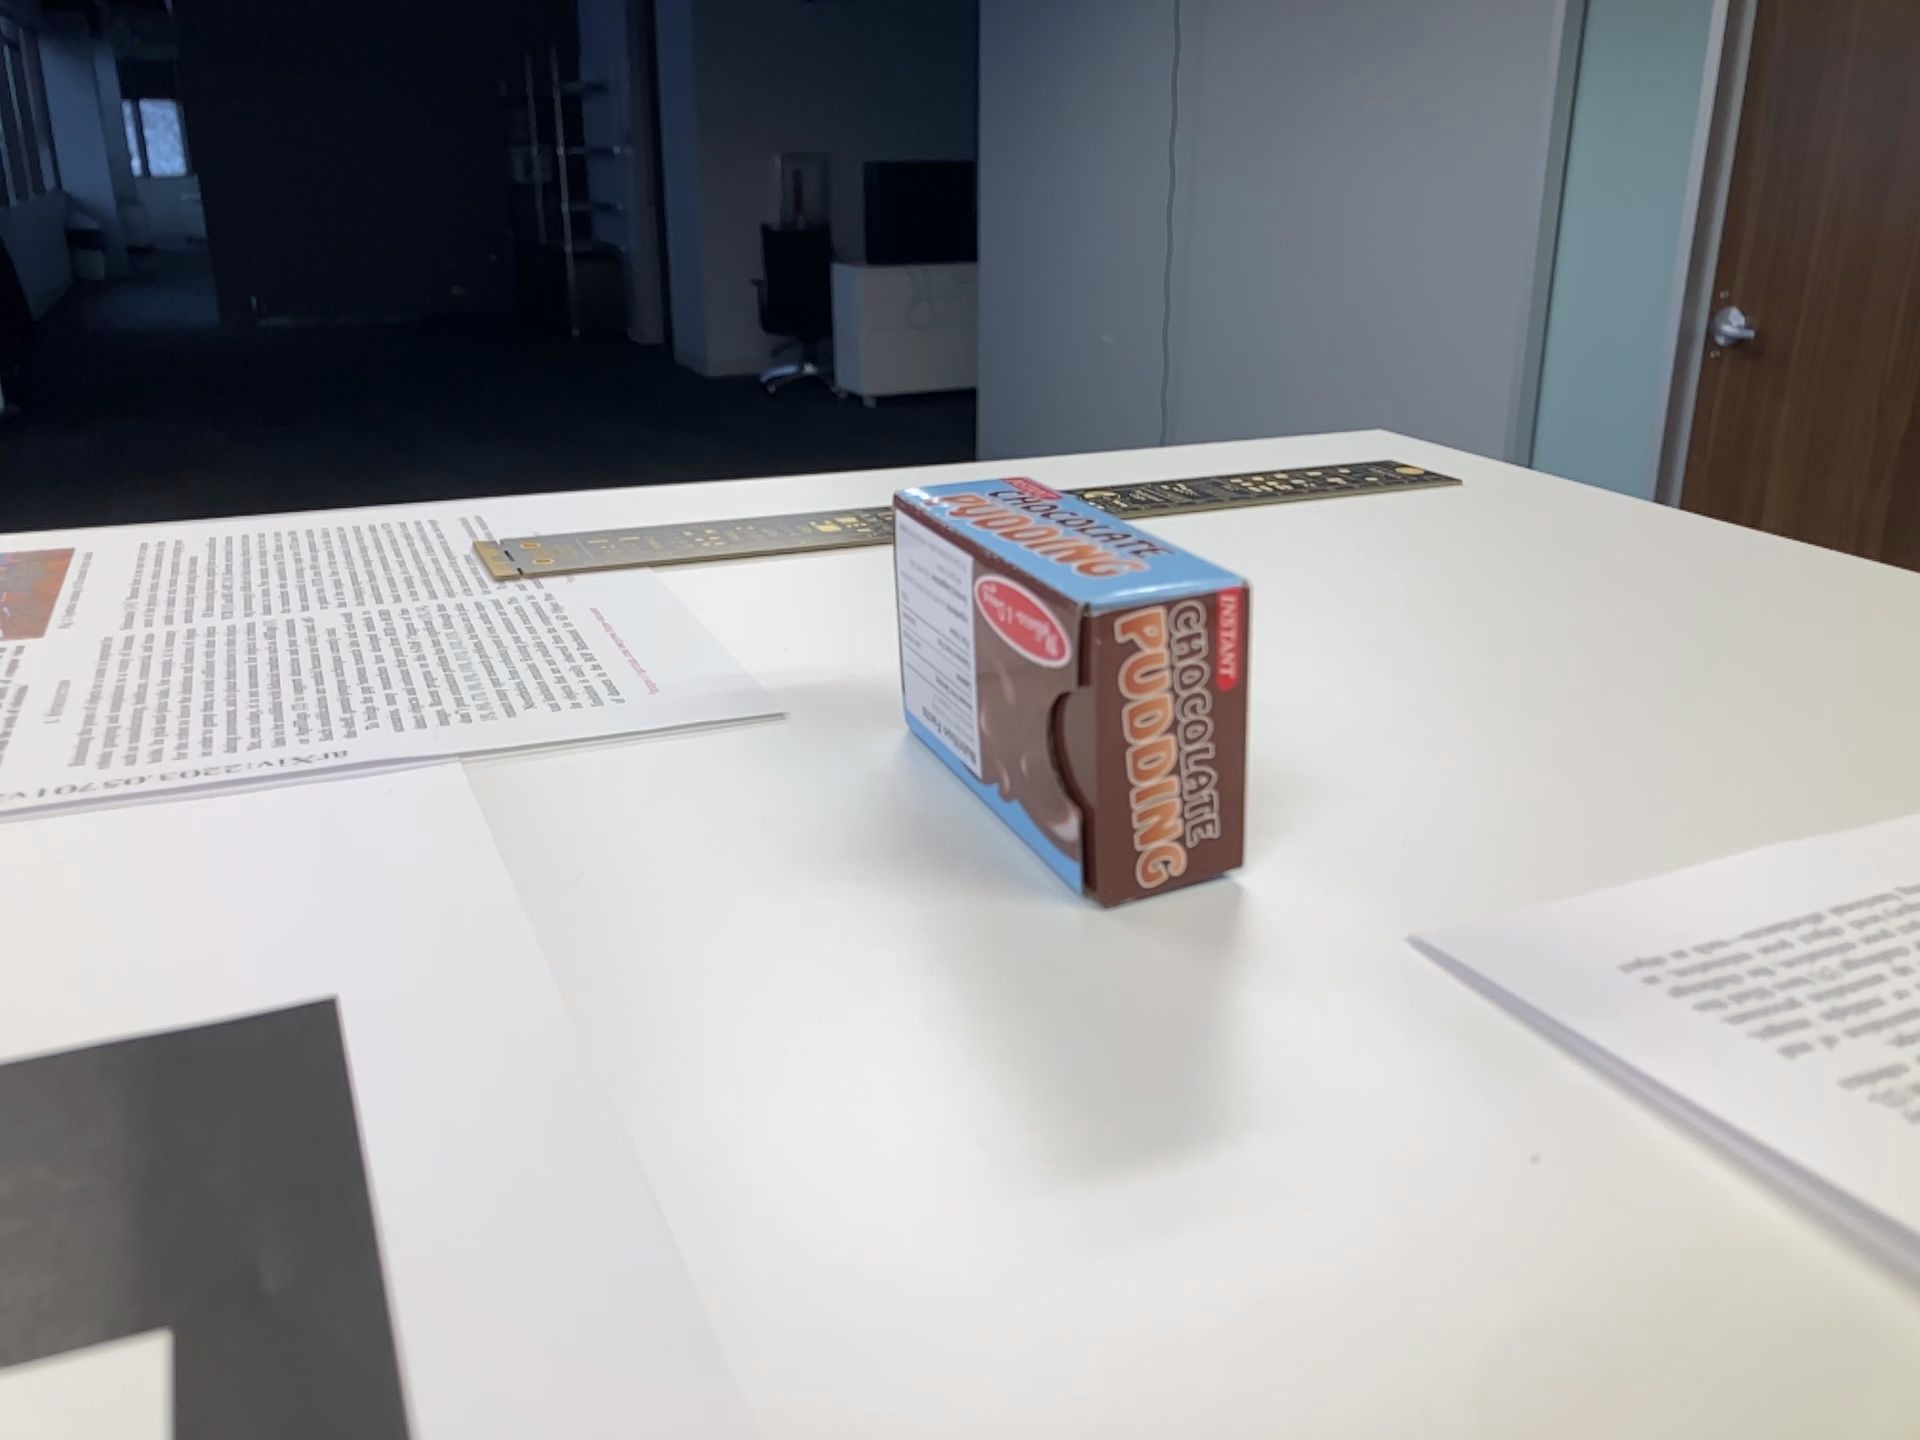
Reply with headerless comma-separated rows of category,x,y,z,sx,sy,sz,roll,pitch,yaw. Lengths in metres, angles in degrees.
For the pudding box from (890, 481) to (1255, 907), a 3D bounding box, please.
pudding box,0.016,-0.008,0.271,0.030,0.049,0.083,-10,22,-20
